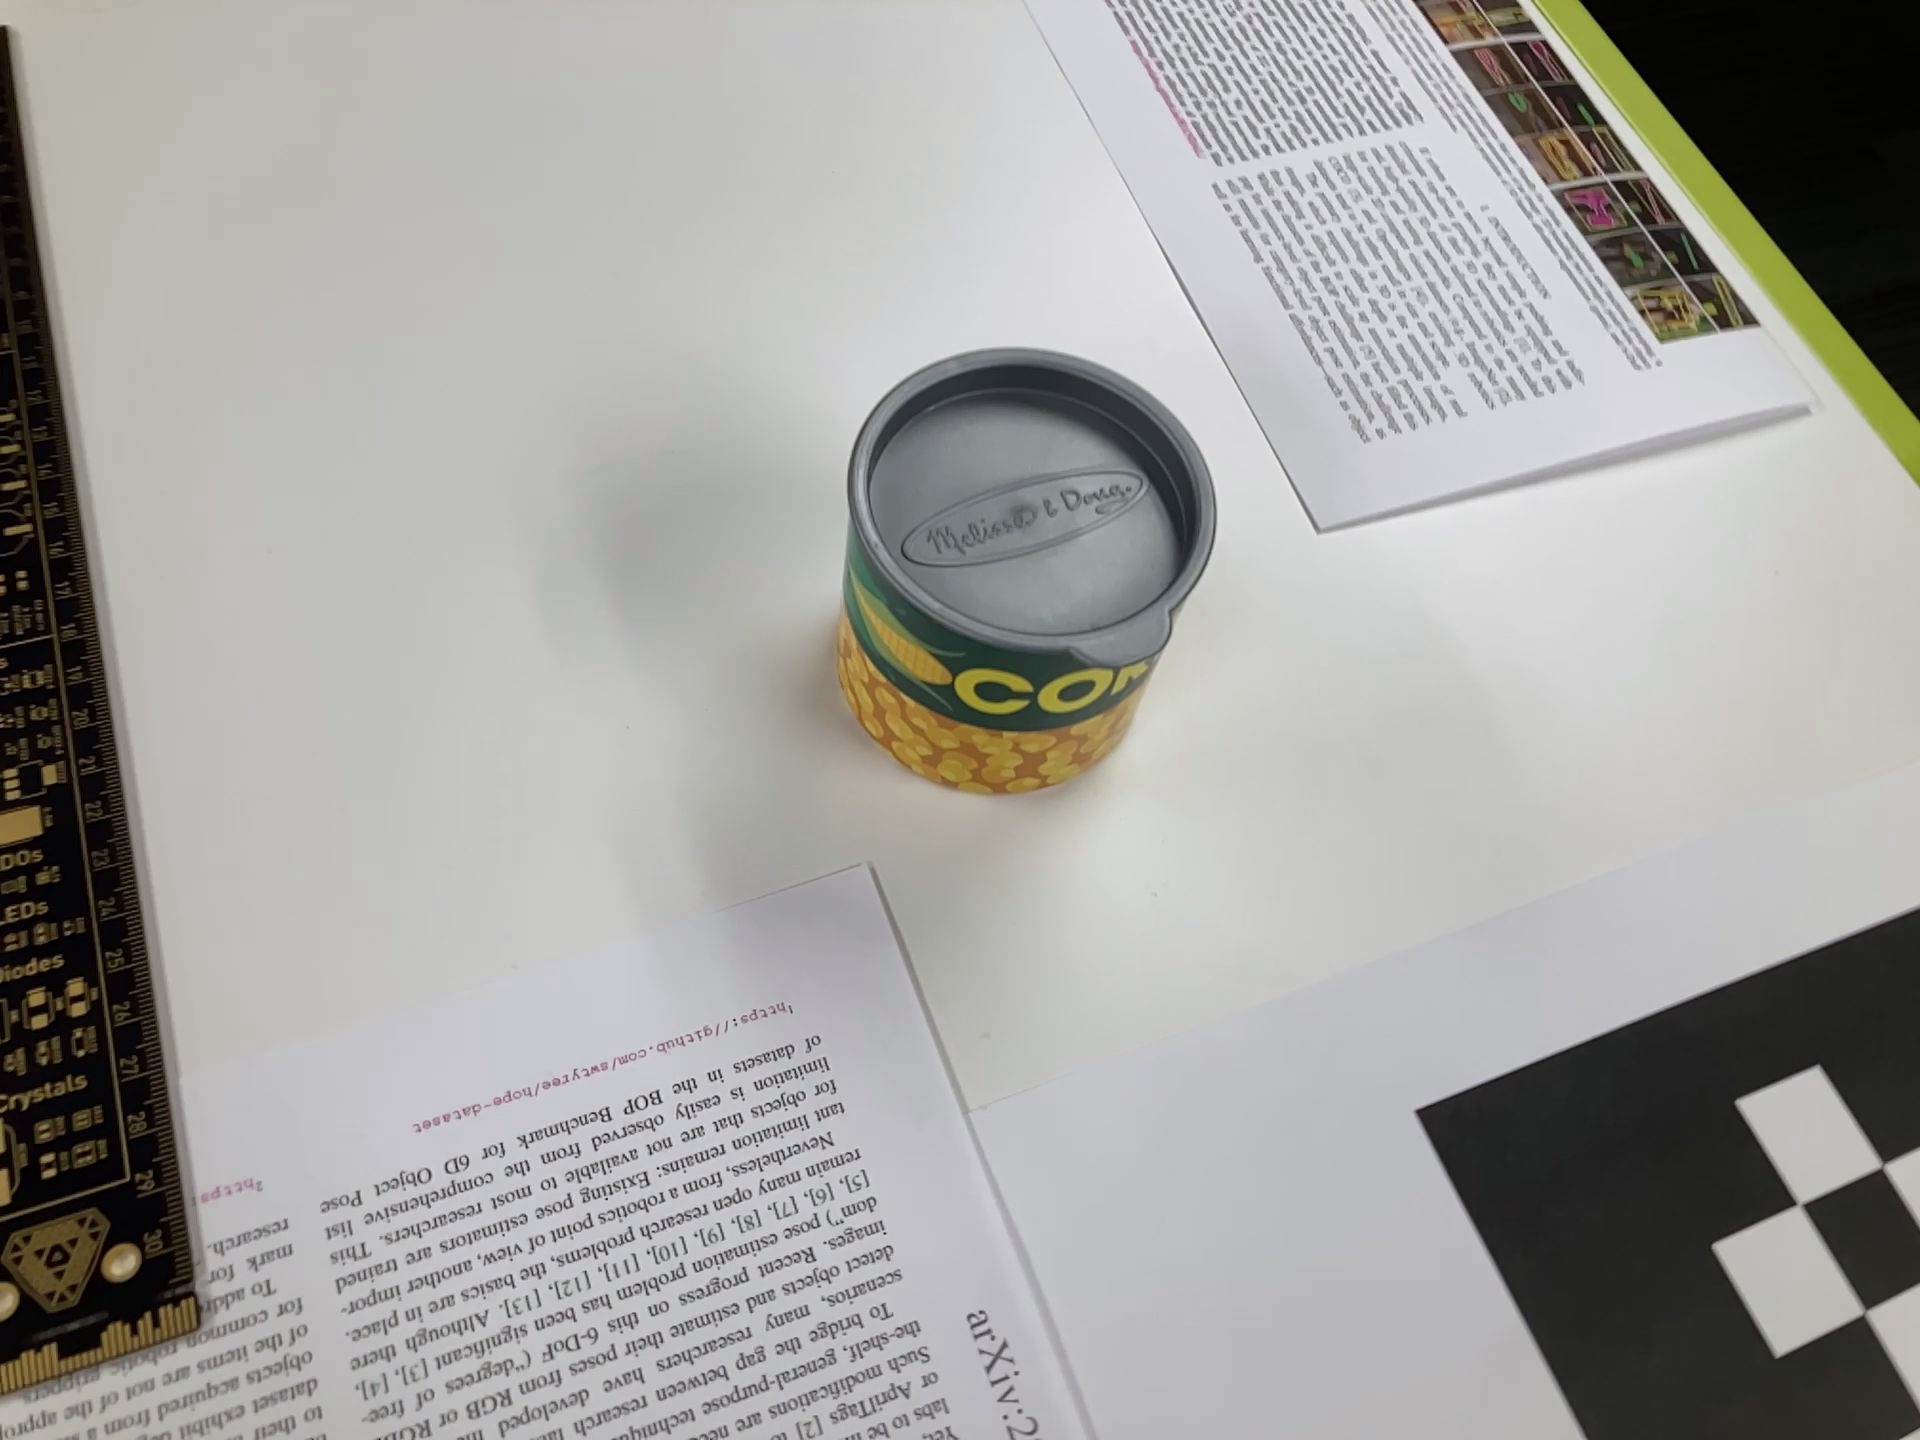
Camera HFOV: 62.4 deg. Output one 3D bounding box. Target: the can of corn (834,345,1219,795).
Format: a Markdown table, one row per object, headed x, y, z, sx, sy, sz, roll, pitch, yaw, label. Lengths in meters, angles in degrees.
| x | y | z | sx | sy | sz | roll | pitch | yaw | label |
| --- | --- | --- | --- | --- | --- | --- | --- | --- | --- |
| 0.011 | -0.025 | 0.303 | 0.071 | 0.058 | 0.071 | 3 | 60 | -6 | can of corn |
